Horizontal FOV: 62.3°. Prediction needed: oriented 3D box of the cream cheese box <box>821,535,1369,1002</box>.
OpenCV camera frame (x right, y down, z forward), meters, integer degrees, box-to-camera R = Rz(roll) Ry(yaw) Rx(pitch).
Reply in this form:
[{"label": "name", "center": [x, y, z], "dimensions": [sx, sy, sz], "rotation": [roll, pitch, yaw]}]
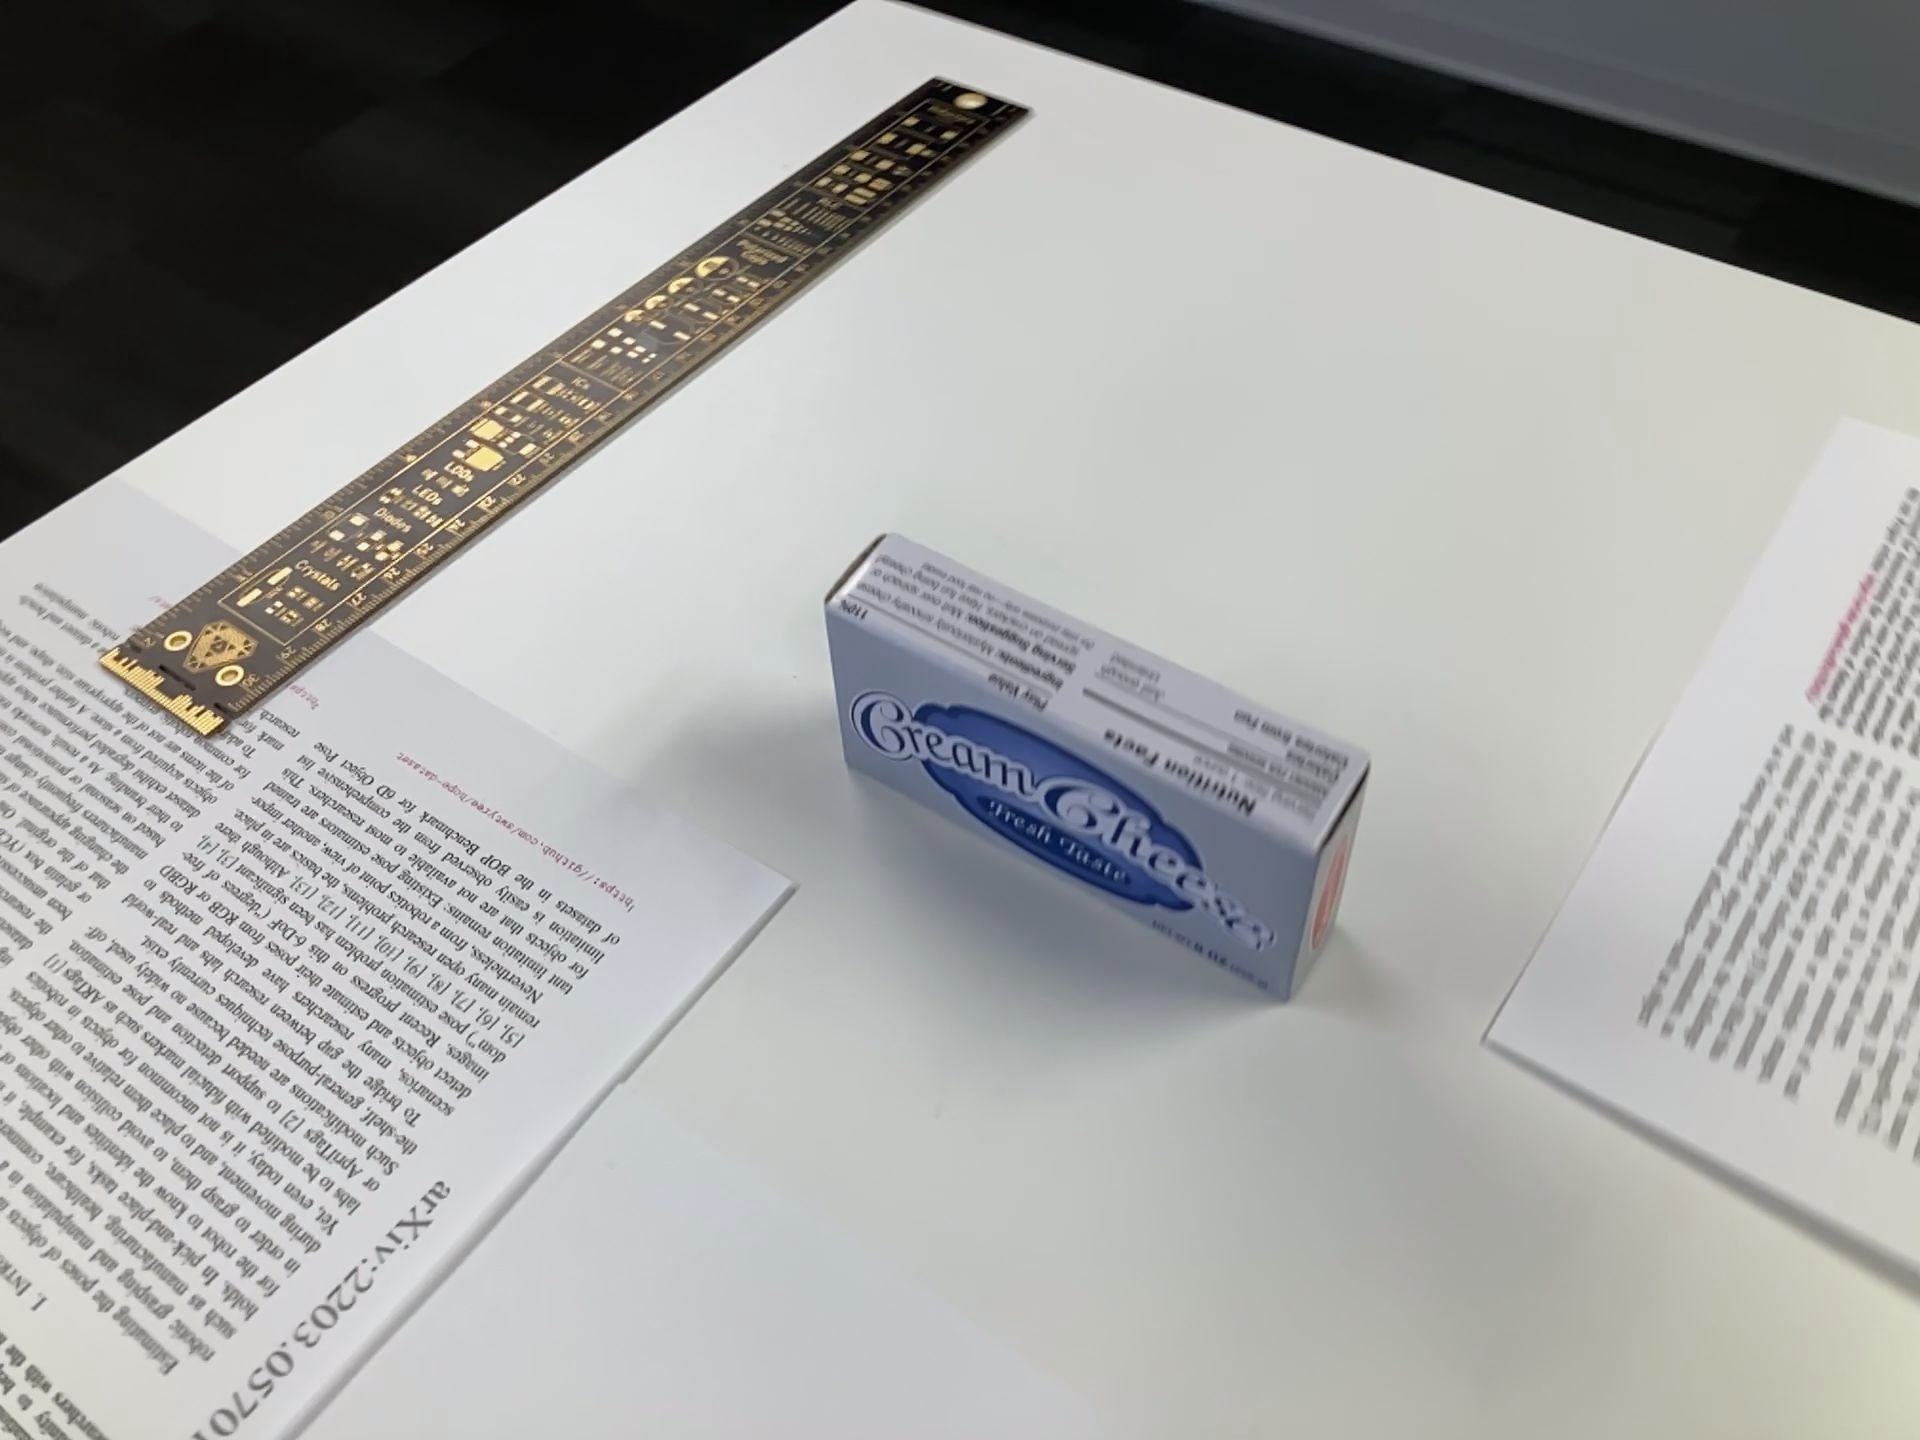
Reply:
[{"label": "cream cheese box", "center": [0.023, 0.008, 0.298], "dimensions": [0.104, 0.053, 0.024], "rotation": [27, 57, 22]}]
